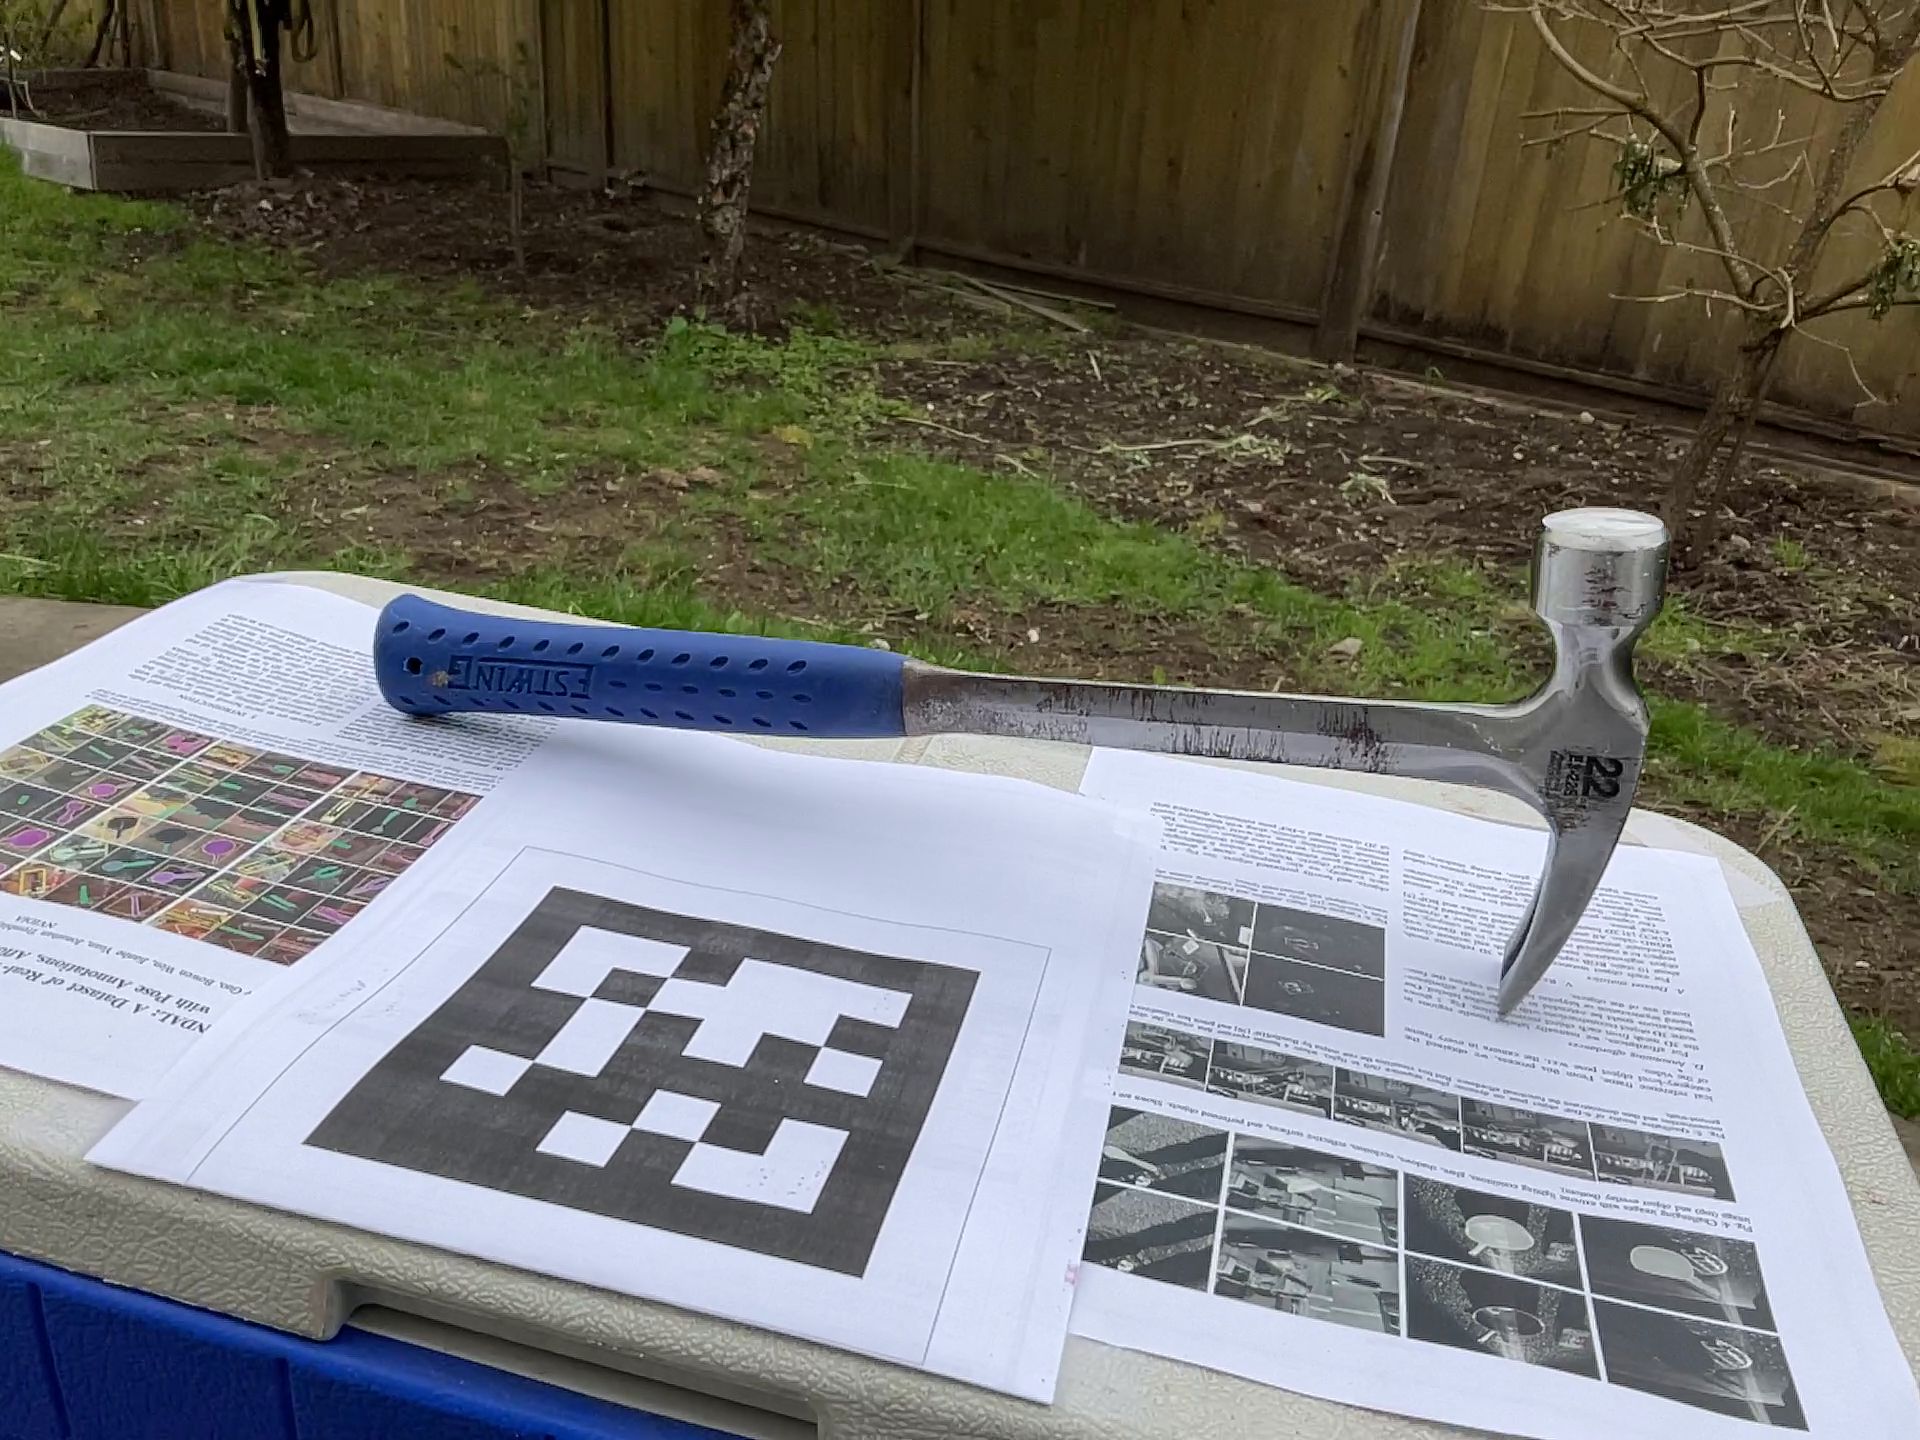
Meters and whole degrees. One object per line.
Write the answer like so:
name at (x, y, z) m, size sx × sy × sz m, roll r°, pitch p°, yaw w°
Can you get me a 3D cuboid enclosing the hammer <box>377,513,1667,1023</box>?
hammer at (-0.005, 0.001, 0.503) m, size 0.405 × 0.144 × 0.035 m, roll 5°, pitch 22°, yaw 19°
